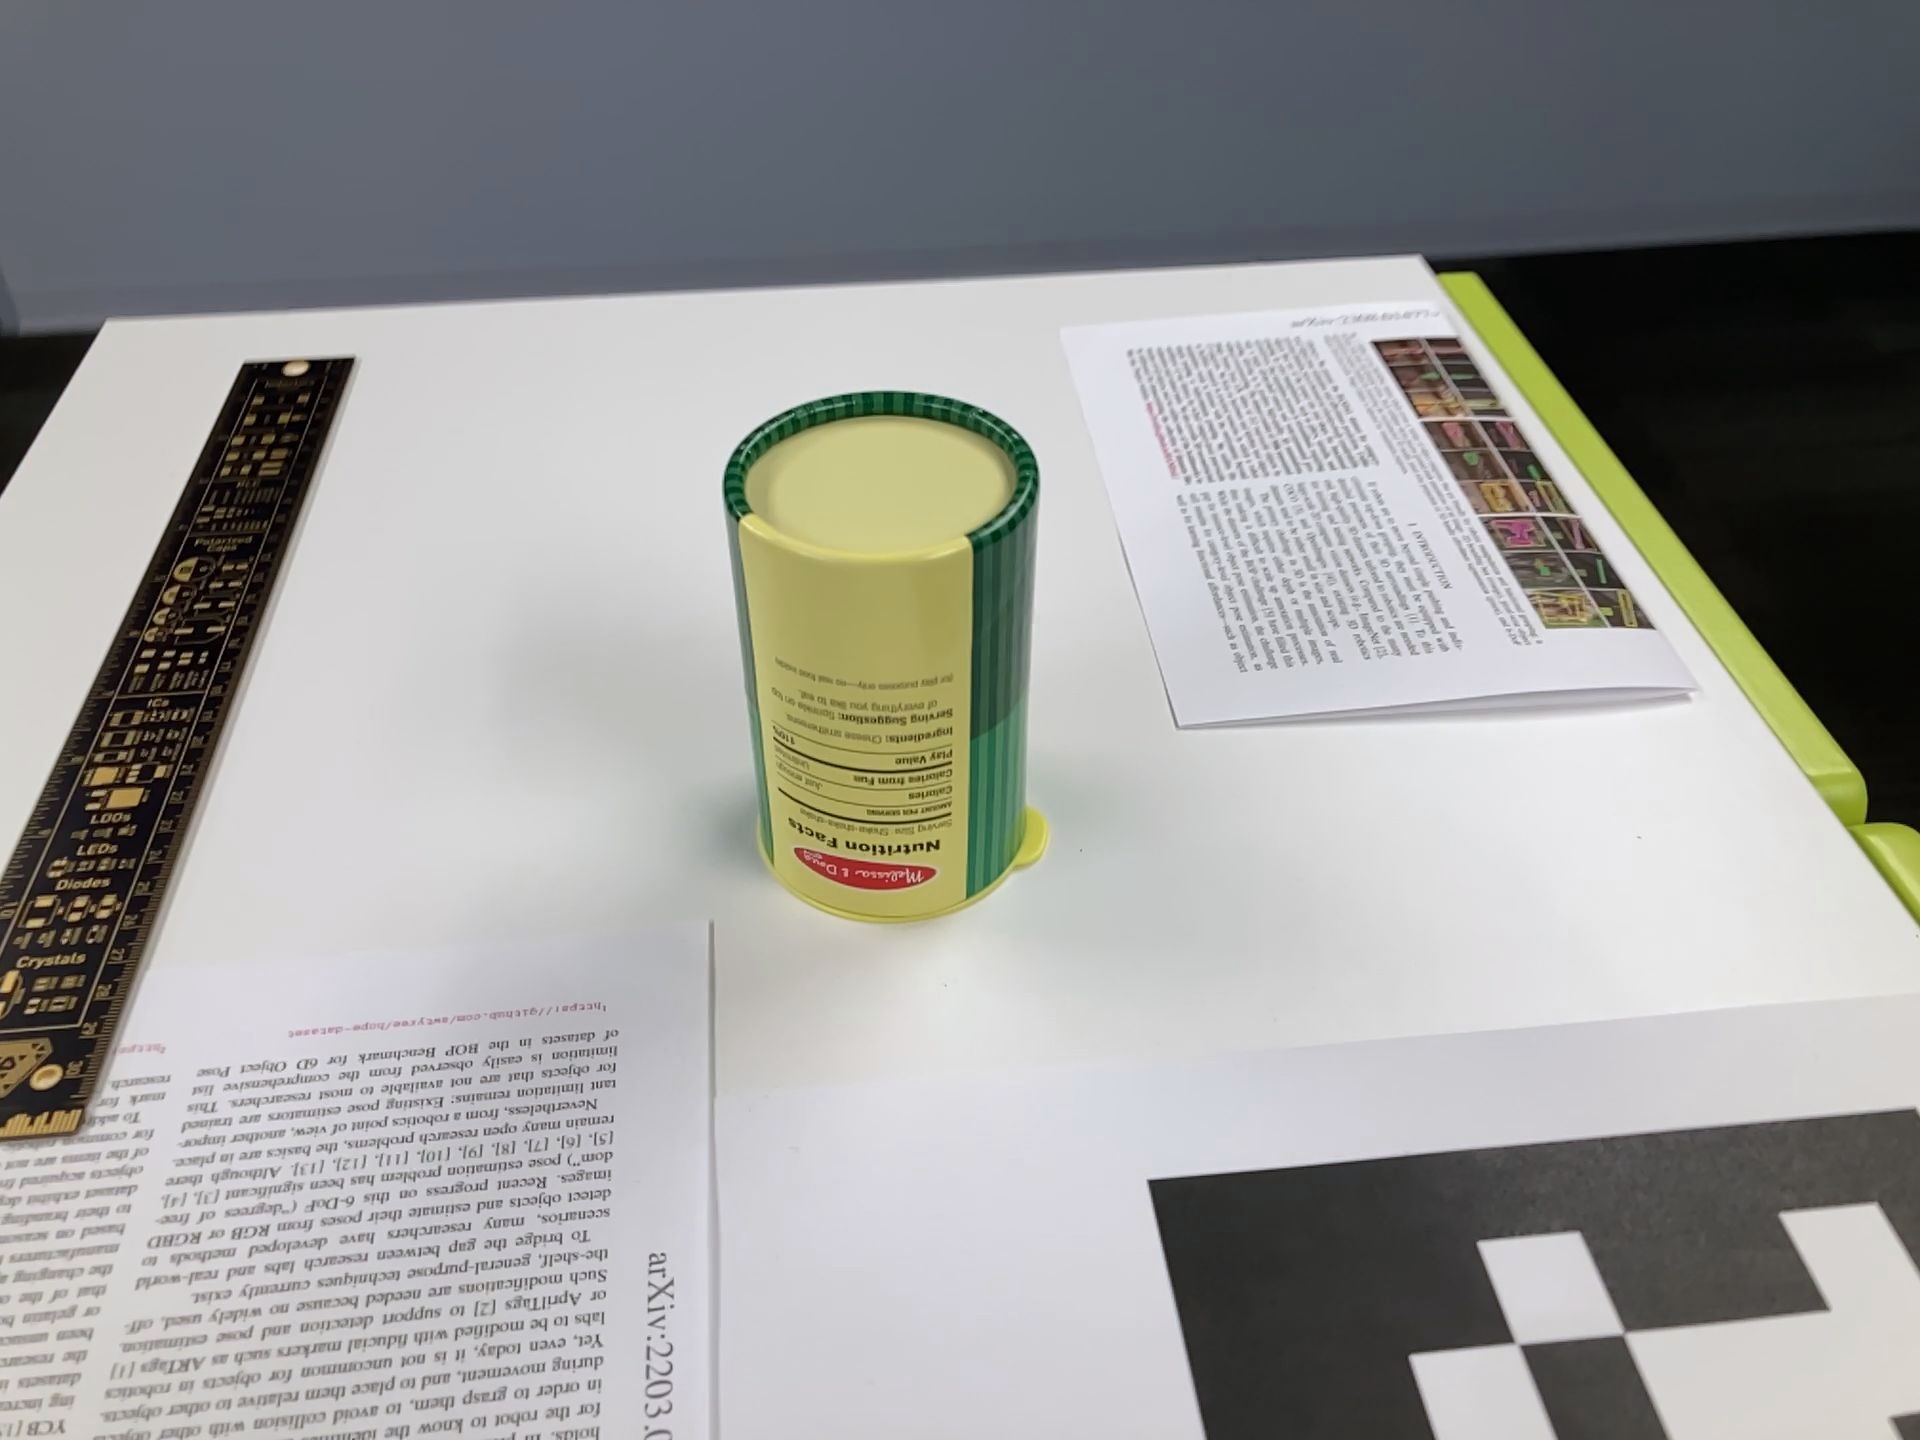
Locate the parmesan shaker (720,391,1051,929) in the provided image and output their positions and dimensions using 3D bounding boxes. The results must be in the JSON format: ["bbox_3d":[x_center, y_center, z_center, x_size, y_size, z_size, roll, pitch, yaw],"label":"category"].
[{"bbox_3d":[-0.013,-0.012,0.352,0.071,0.103,0.071,0,41,0],"label":"parmesan shaker"}]
